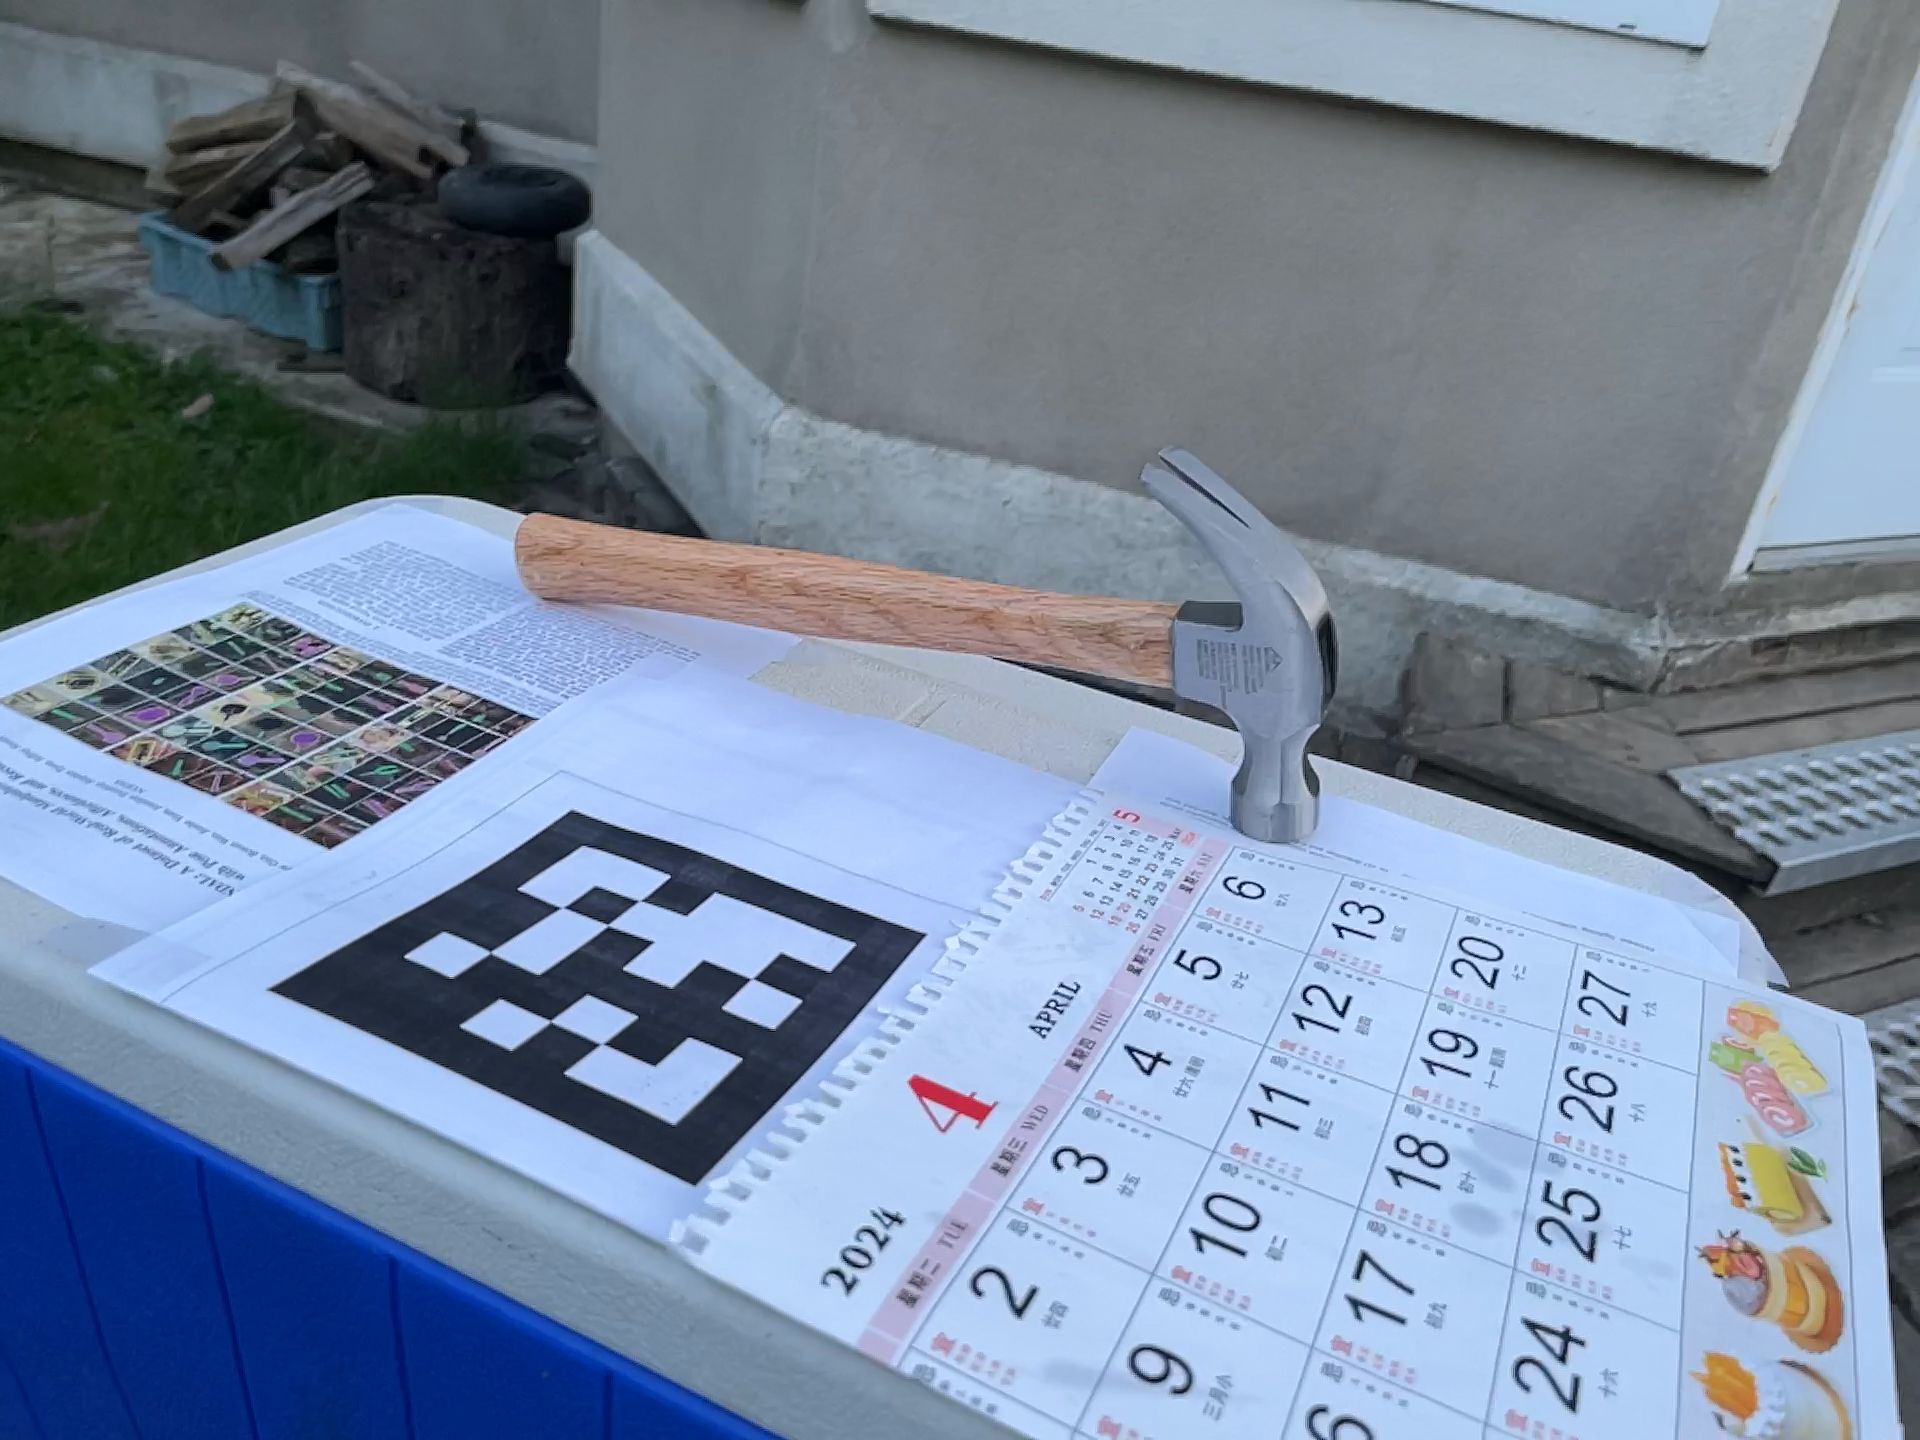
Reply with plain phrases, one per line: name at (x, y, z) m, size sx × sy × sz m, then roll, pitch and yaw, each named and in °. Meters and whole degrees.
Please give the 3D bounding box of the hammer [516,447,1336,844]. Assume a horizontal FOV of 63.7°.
hammer at (-0.028, -0.044, 0.574) m, size 0.331 × 0.130 × 0.031 m, roll 10°, pitch 32°, yaw 24°
